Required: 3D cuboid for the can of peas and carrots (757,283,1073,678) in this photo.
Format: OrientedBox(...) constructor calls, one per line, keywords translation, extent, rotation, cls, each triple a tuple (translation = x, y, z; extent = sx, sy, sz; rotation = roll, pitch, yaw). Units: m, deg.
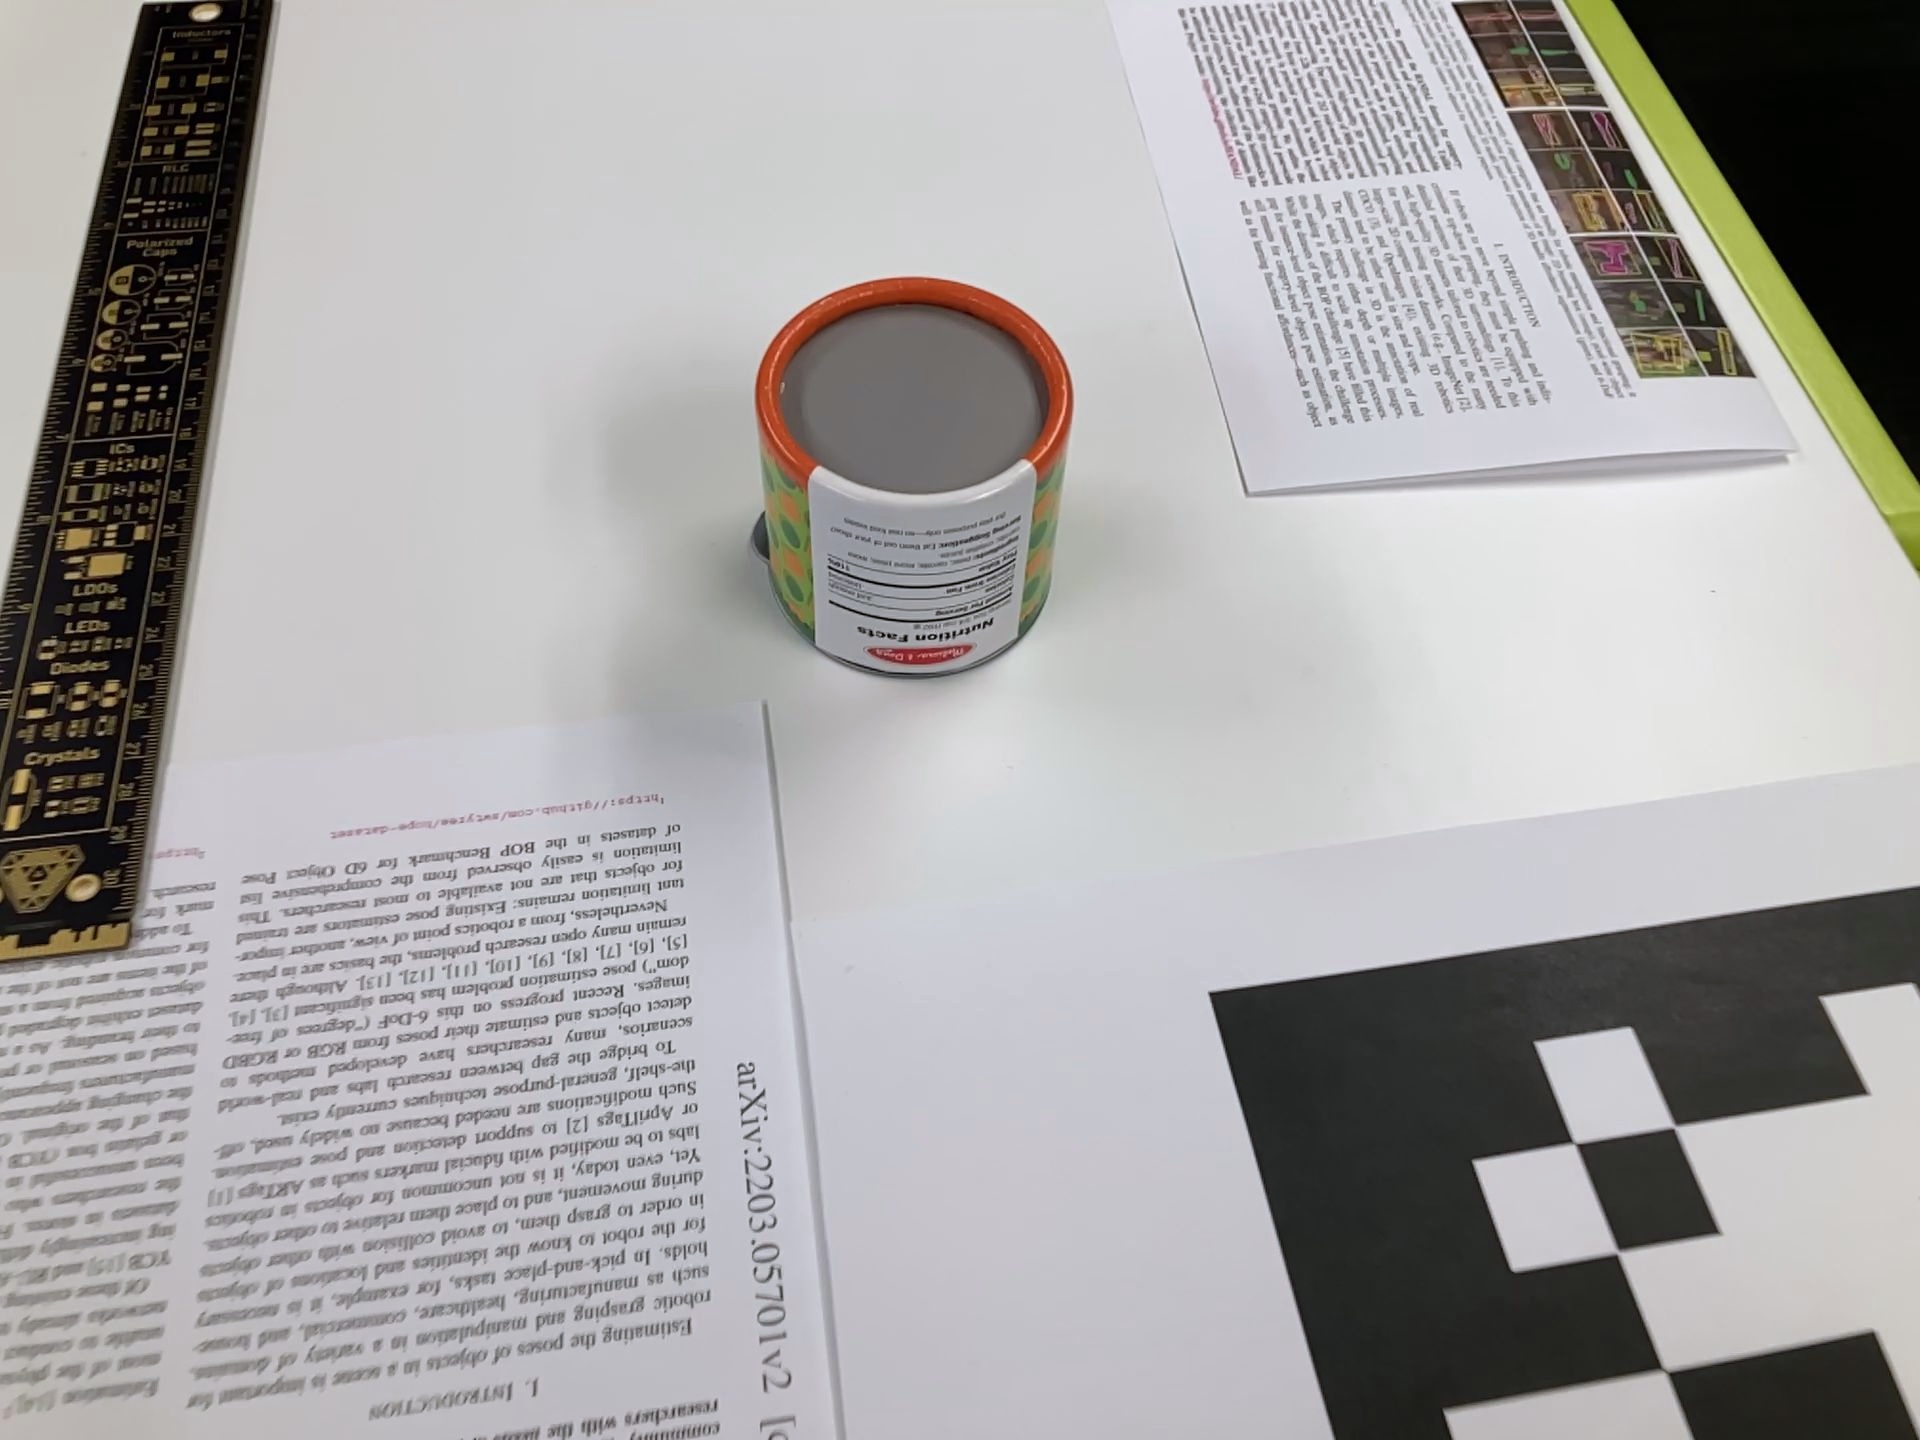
OrientedBox(translation=(-0.011, -0.055, 0.351), extent=(0.071, 0.059, 0.071), rotation=(2, 56, -2), cls="can of peas and carrots")
